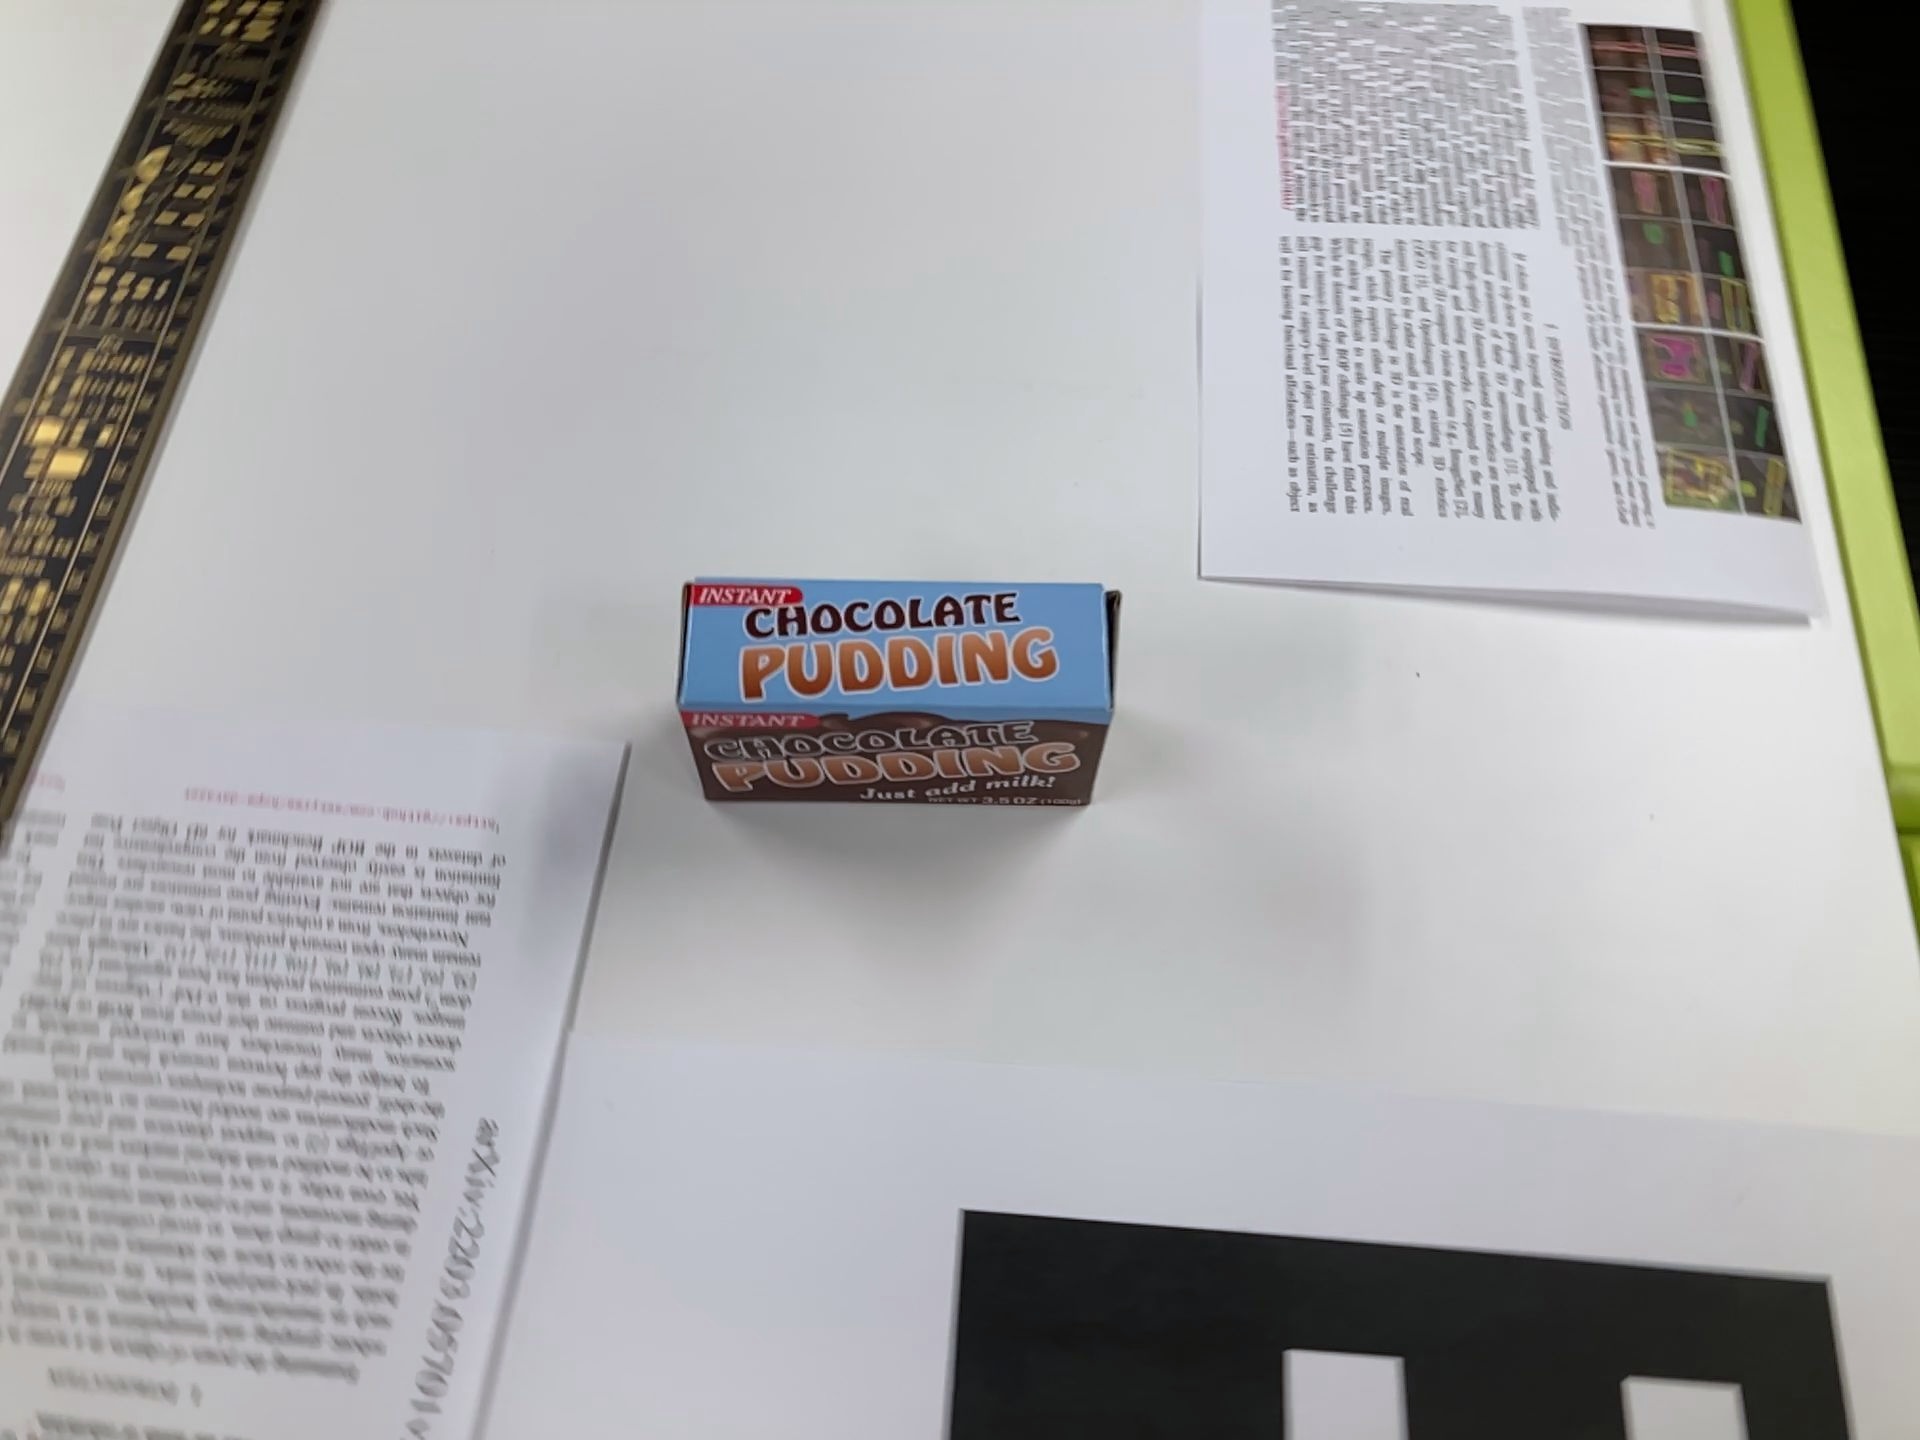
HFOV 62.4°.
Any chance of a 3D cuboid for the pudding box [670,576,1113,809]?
[{"bbox_3d":[-0.013,-0.005,0.319,0.083,0.049,0.030,1,64,-2],"label":"pudding box"}]
